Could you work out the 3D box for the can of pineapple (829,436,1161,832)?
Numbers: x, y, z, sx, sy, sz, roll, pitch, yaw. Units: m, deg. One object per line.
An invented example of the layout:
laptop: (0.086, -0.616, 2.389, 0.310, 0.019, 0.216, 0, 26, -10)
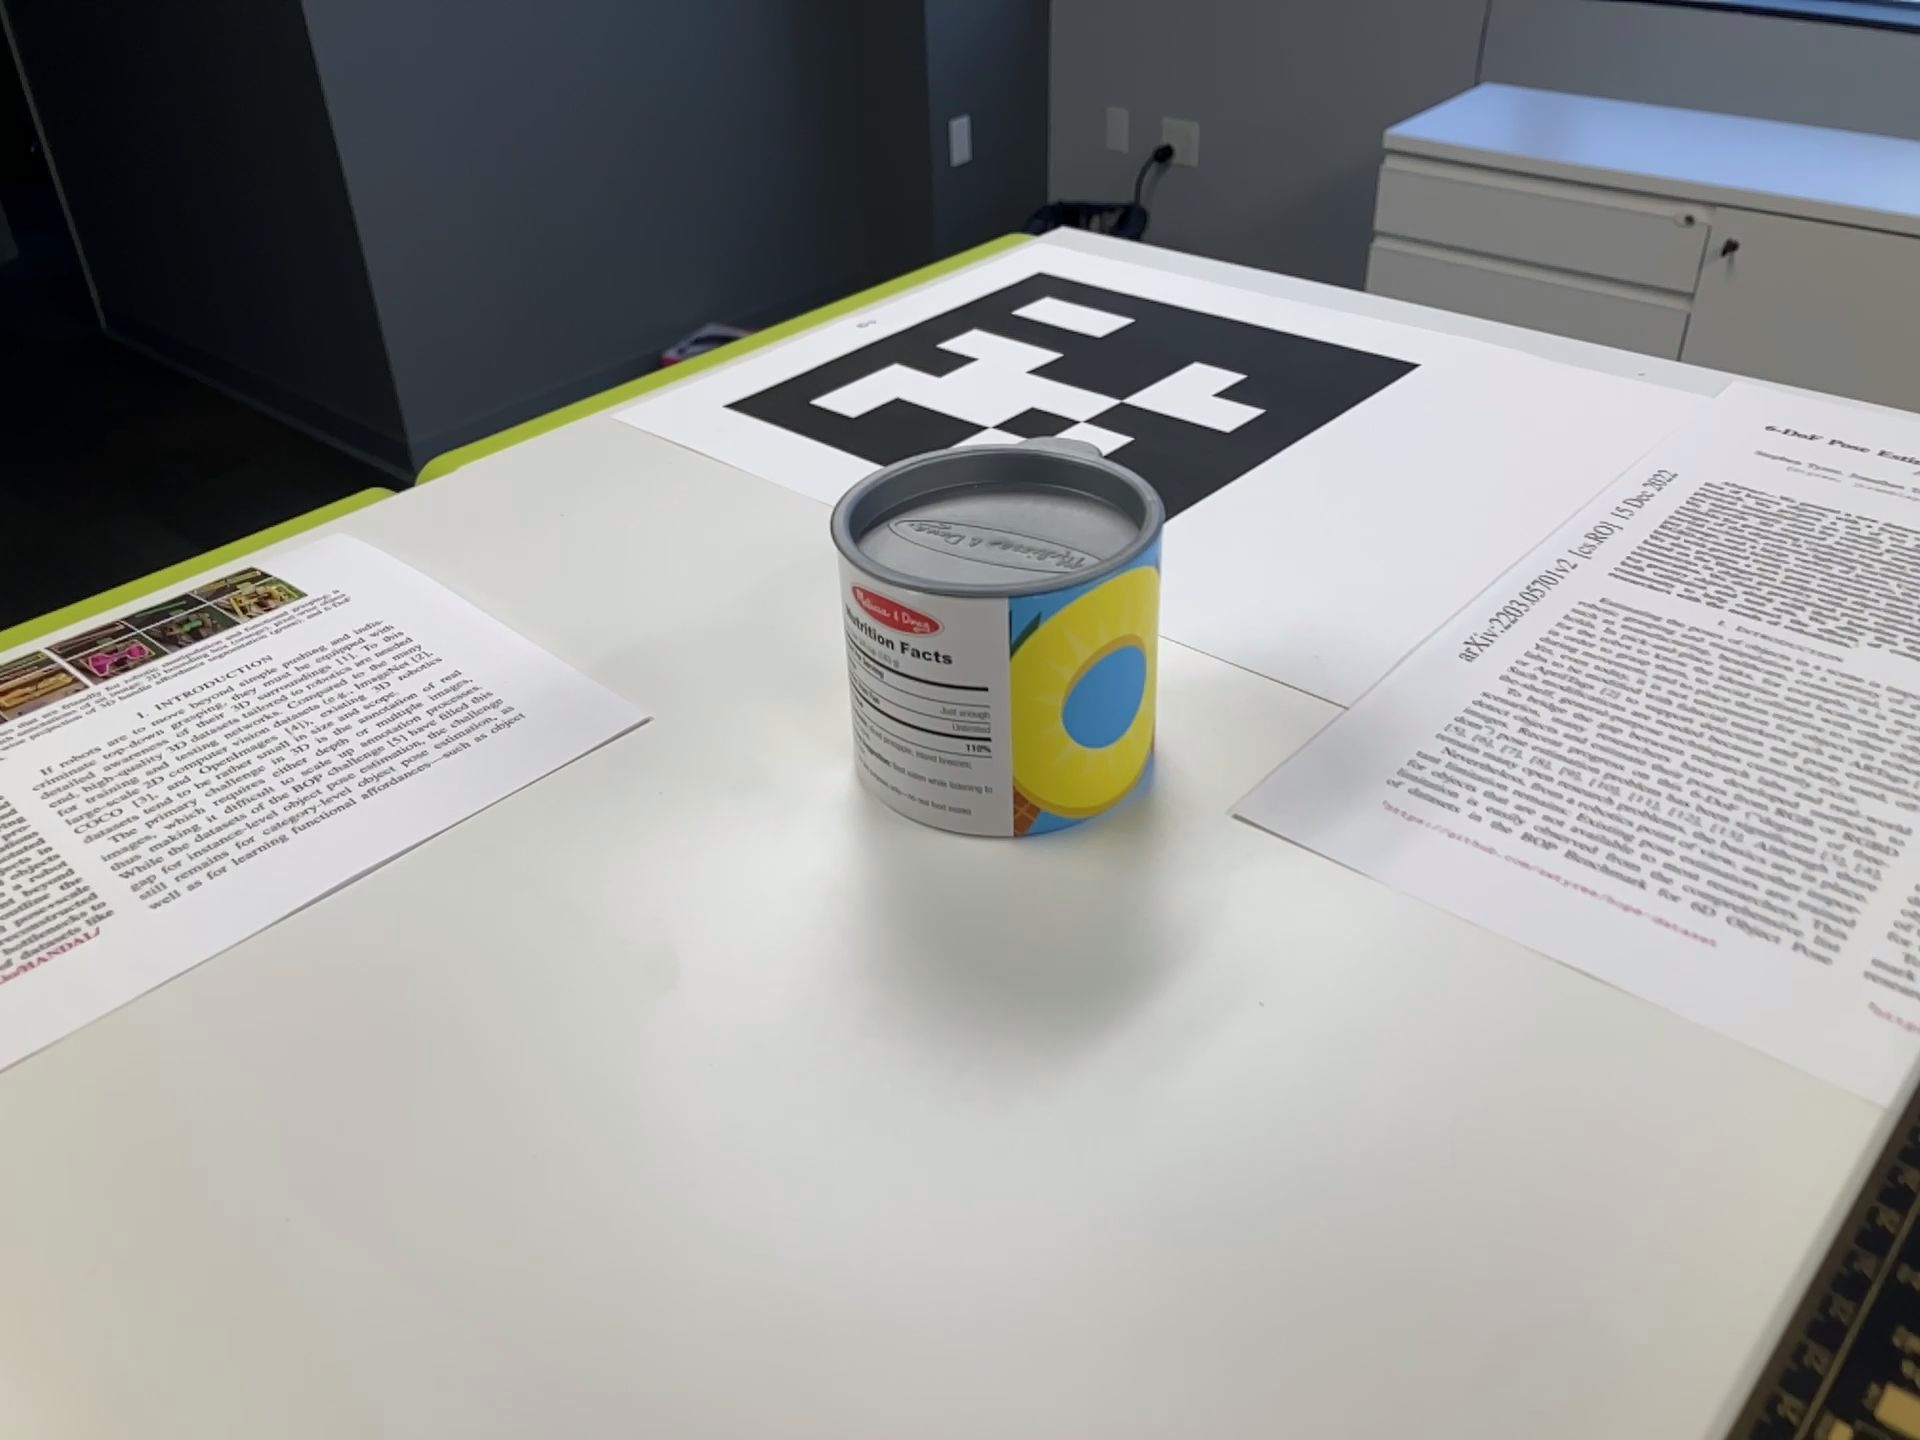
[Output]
can of pineapple: (0.009, -0.019, 0.333, 0.071, 0.058, 0.071, -1, 34, 1)
